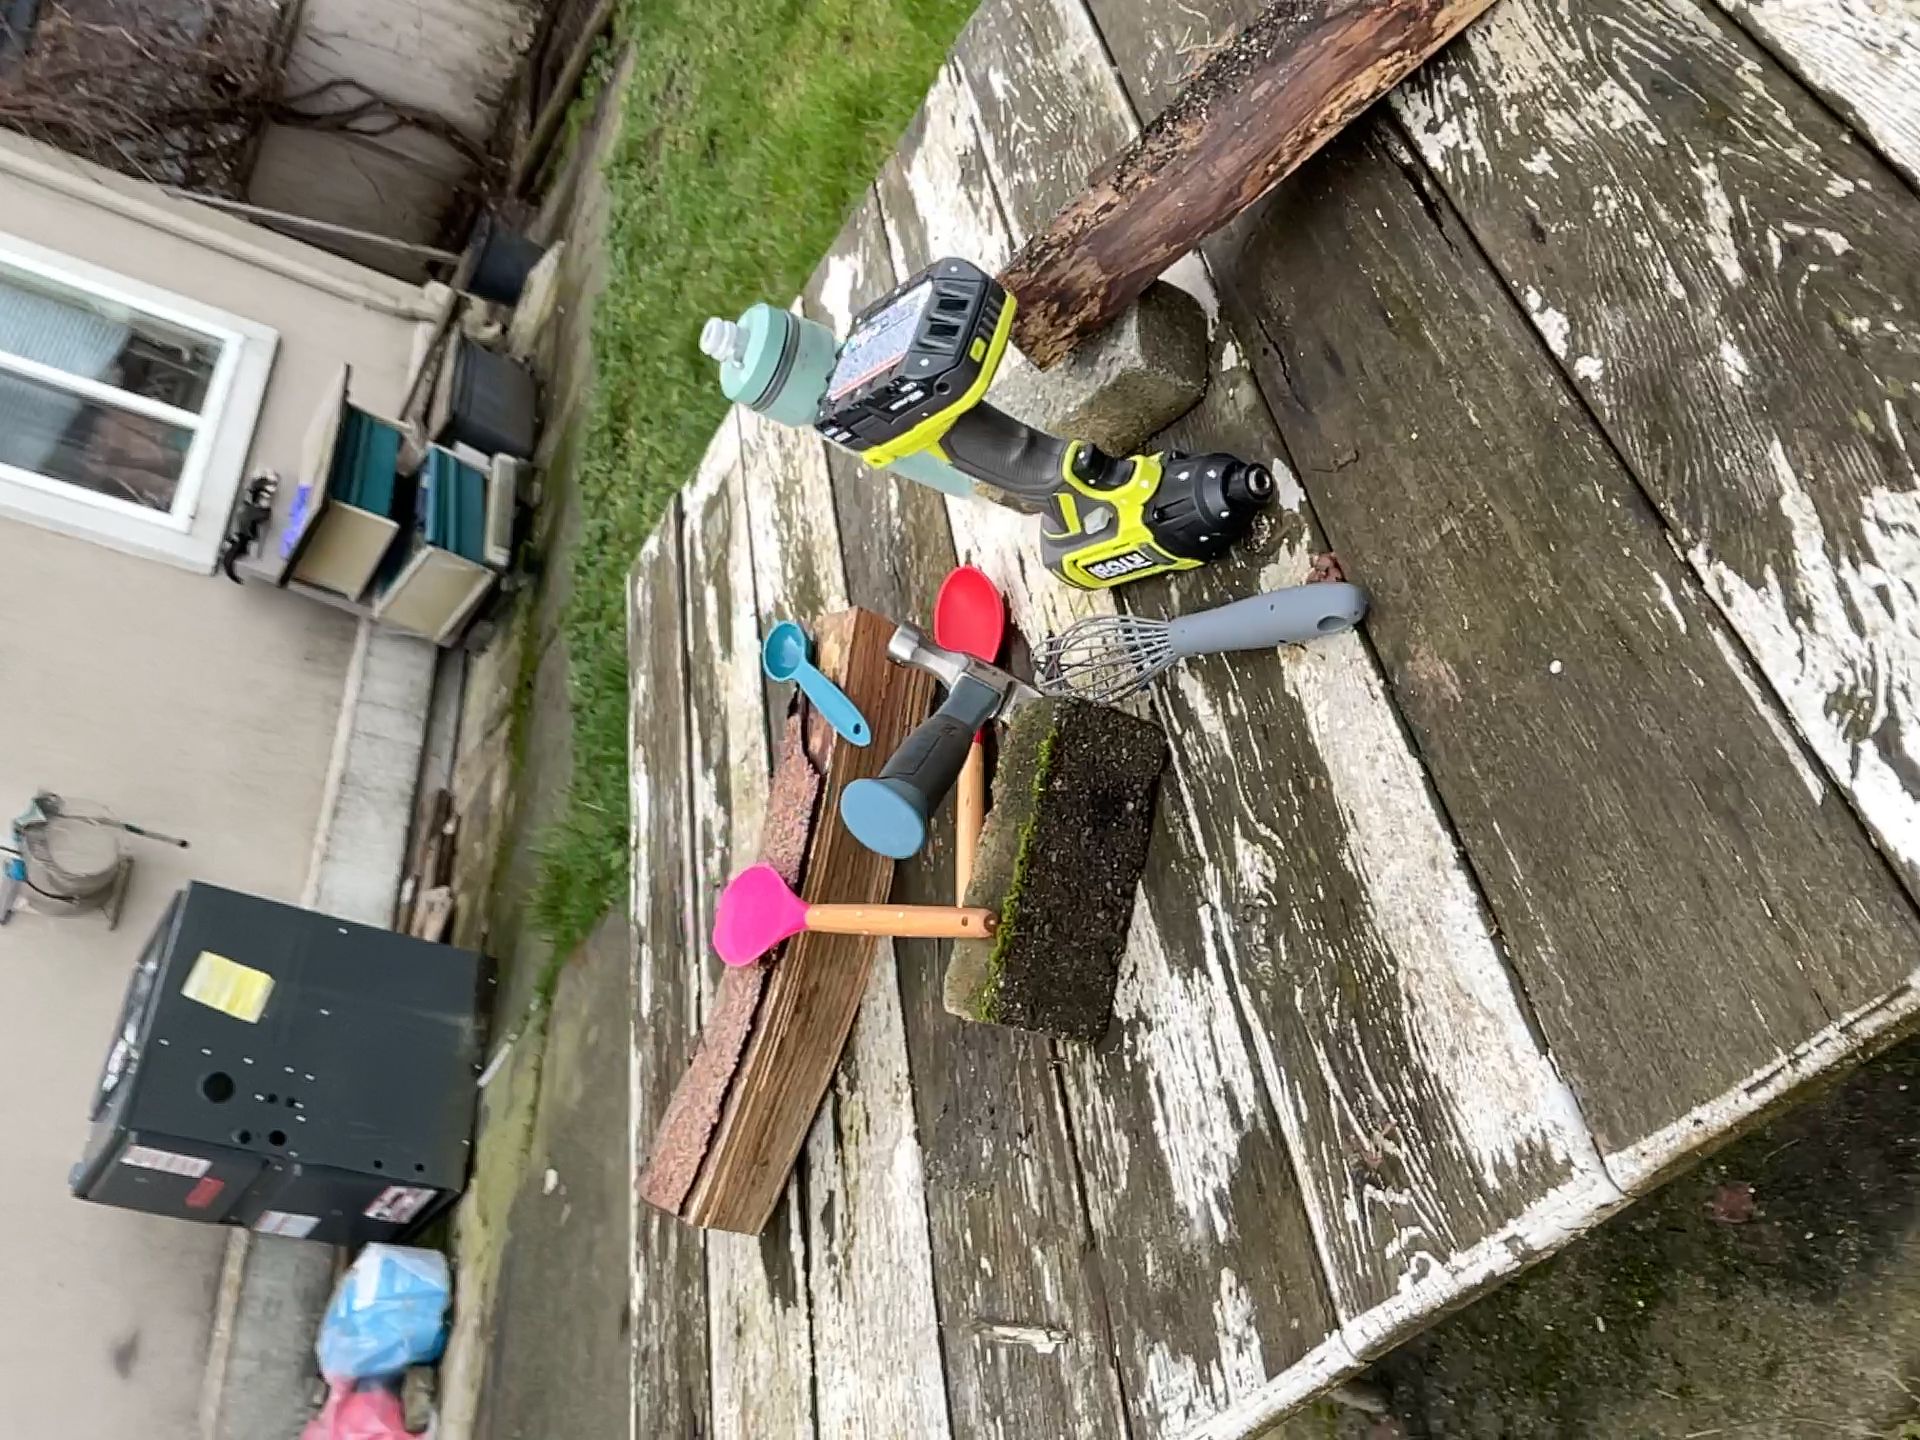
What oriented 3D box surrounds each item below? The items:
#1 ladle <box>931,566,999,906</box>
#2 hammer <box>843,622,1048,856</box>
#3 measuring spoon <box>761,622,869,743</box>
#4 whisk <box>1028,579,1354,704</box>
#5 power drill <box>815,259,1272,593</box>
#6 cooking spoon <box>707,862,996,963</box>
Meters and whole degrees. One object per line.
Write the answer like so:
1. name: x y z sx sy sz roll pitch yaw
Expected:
1. ladle: 0.007 0.039 1.045 0.069 0.031 0.316 -33 48 46
2. hammer: -0.009 0.010 0.881 0.033 0.128 0.331 -65 -3 16
3. measuring spoon: -0.094 -0.022 1.097 0.129 0.021 0.042 44 113 36
4. whisk: 0.119 -0.045 0.866 0.239 0.055 0.055 -13 70 54
5. power drill: 0.049 -0.152 0.881 0.171 0.223 0.080 -12 55 56
6. cooking spoon: -0.078 0.121 0.974 0.319 0.017 0.069 -7 66 54
